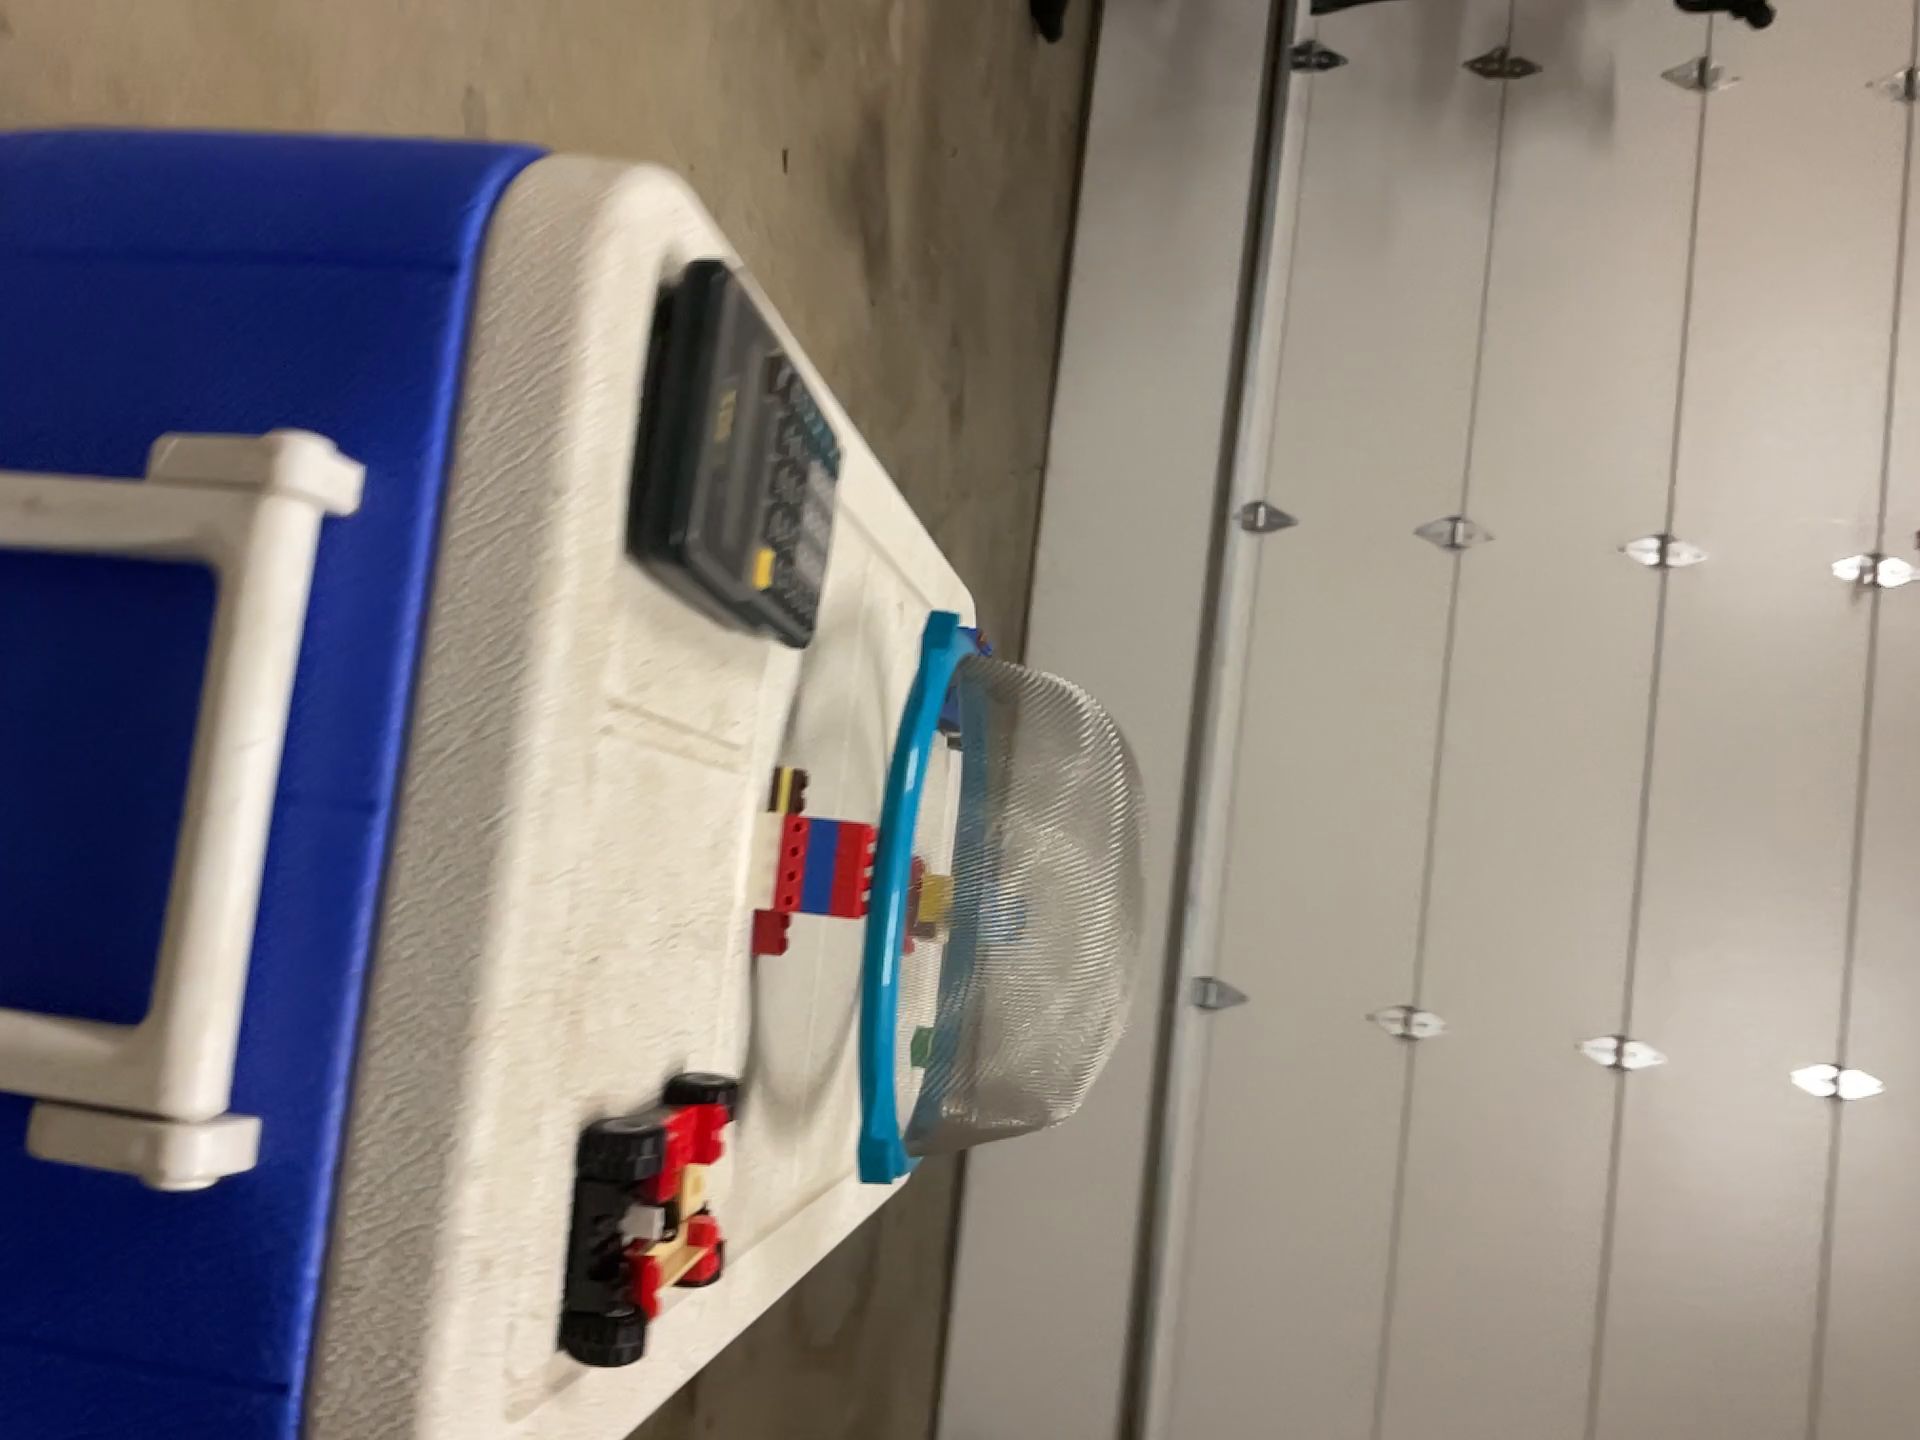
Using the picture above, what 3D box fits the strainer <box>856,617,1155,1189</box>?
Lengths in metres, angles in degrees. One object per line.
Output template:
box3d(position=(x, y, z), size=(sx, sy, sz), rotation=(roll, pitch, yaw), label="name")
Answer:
box3d(position=(0.038, 0.086, 0.683), size=(0.340, 0.095, 0.211), rotation=(44, 52, -77), label="strainer")
